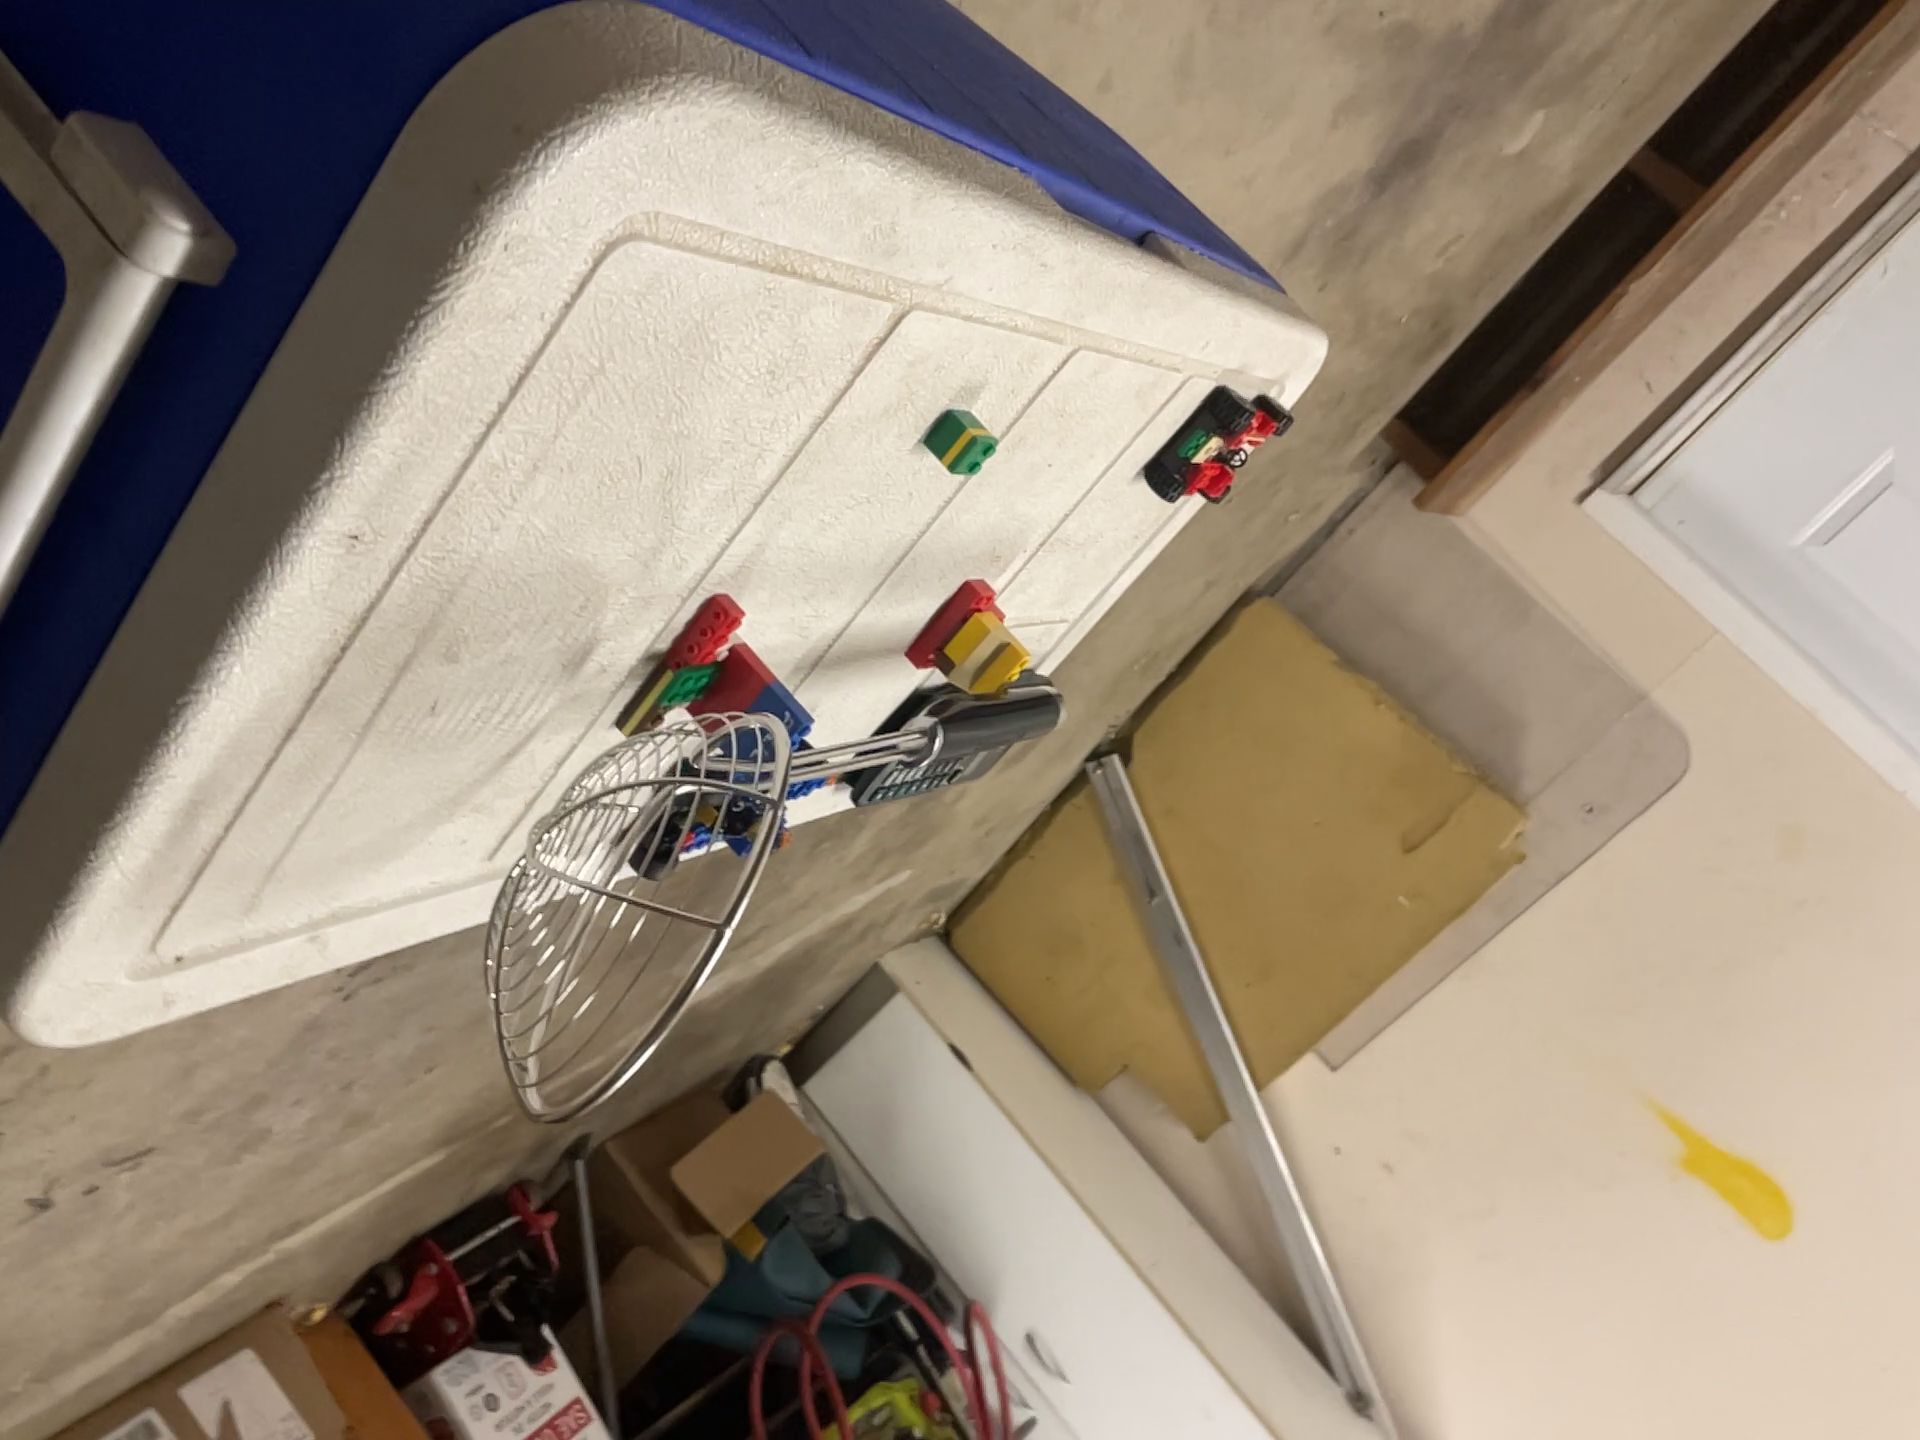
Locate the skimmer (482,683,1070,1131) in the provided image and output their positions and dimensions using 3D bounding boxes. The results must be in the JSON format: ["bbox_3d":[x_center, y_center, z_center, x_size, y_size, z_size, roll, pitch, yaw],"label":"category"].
[{"bbox_3d":[-0.027,0.037,0.558,0.127,0.090,0.363,-47,165,25],"label":"skimmer"}]
